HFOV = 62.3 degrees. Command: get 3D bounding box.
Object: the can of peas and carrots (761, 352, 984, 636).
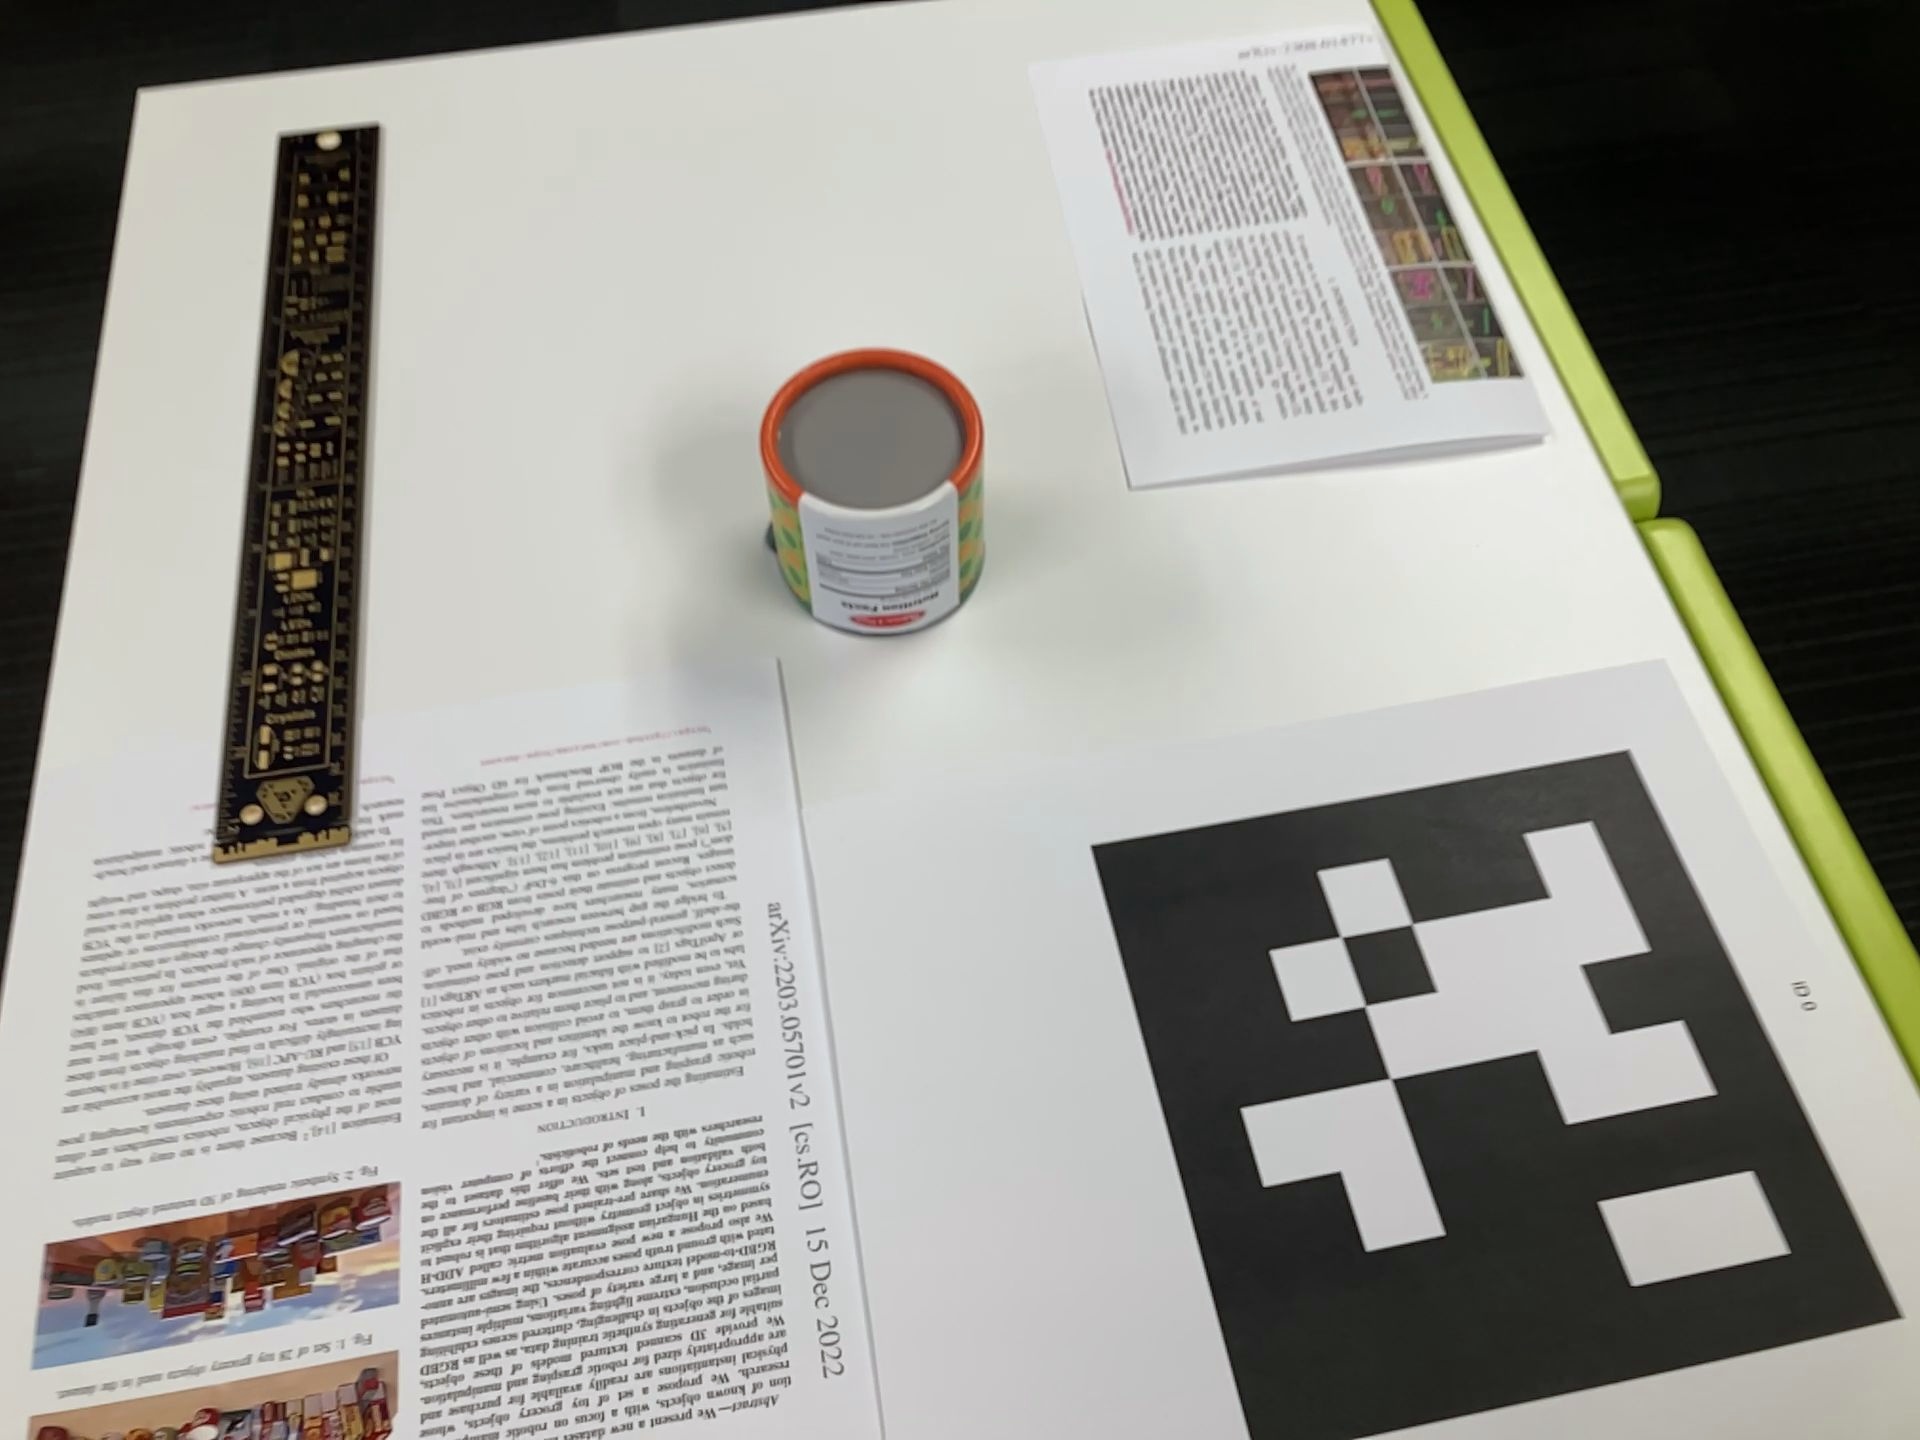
[{"bbox_3d":[-0.026,-0.071,0.487,0.071,0.059,0.071,0,58,0],"label":"can of peas and carrots"}]
